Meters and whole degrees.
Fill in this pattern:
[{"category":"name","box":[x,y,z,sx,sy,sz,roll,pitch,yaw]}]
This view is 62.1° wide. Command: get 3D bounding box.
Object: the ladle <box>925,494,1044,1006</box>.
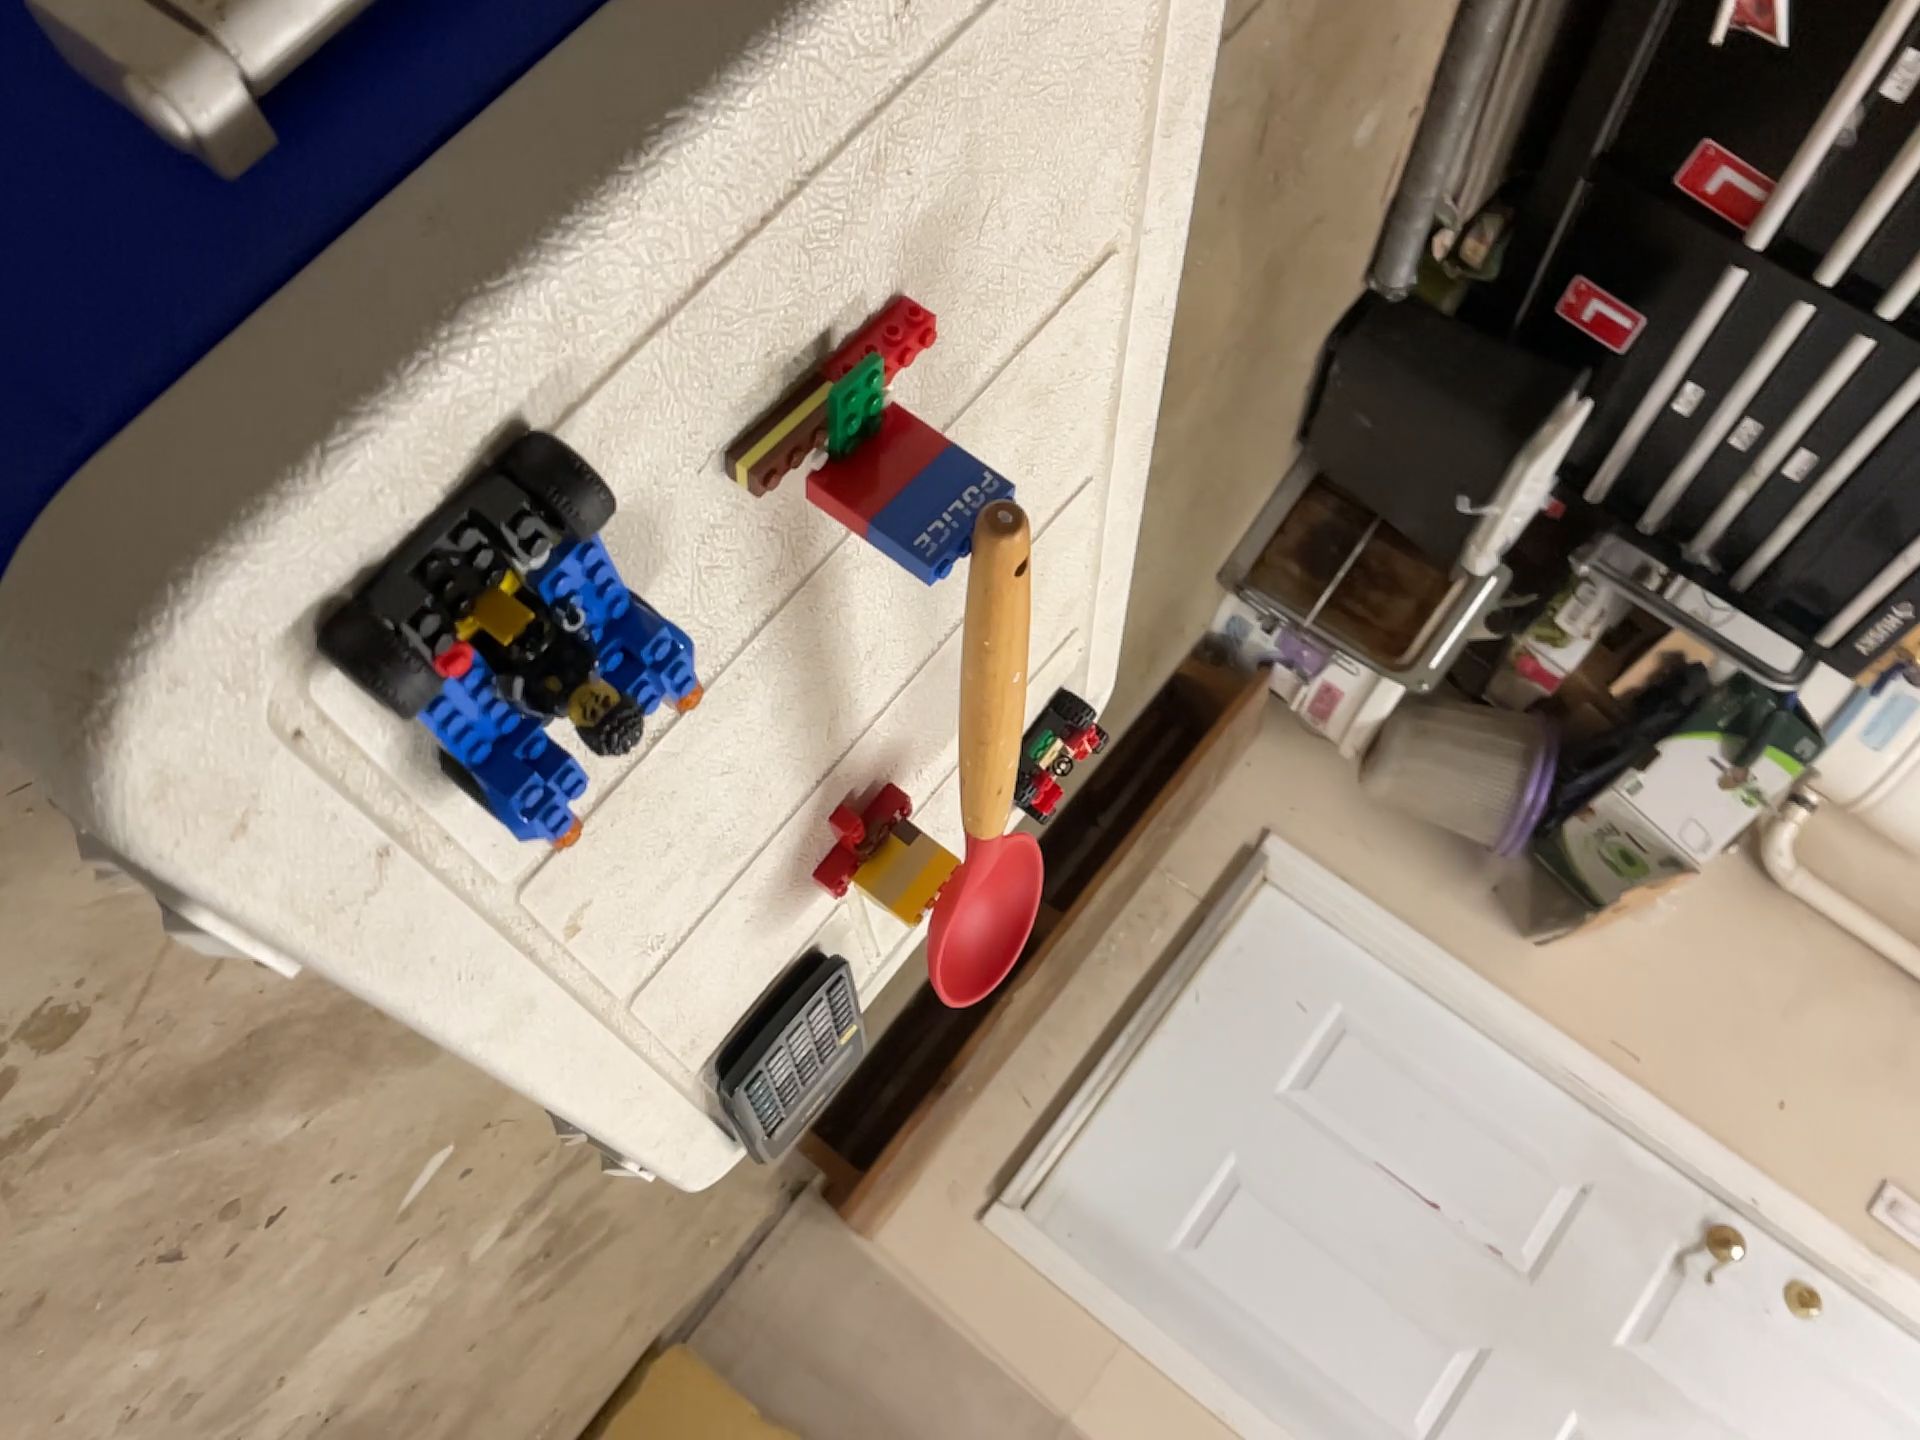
[{"category":"ladle","box":[0.009,0.022,0.495,0.069,0.031,0.315,-54,166,-21]}]
